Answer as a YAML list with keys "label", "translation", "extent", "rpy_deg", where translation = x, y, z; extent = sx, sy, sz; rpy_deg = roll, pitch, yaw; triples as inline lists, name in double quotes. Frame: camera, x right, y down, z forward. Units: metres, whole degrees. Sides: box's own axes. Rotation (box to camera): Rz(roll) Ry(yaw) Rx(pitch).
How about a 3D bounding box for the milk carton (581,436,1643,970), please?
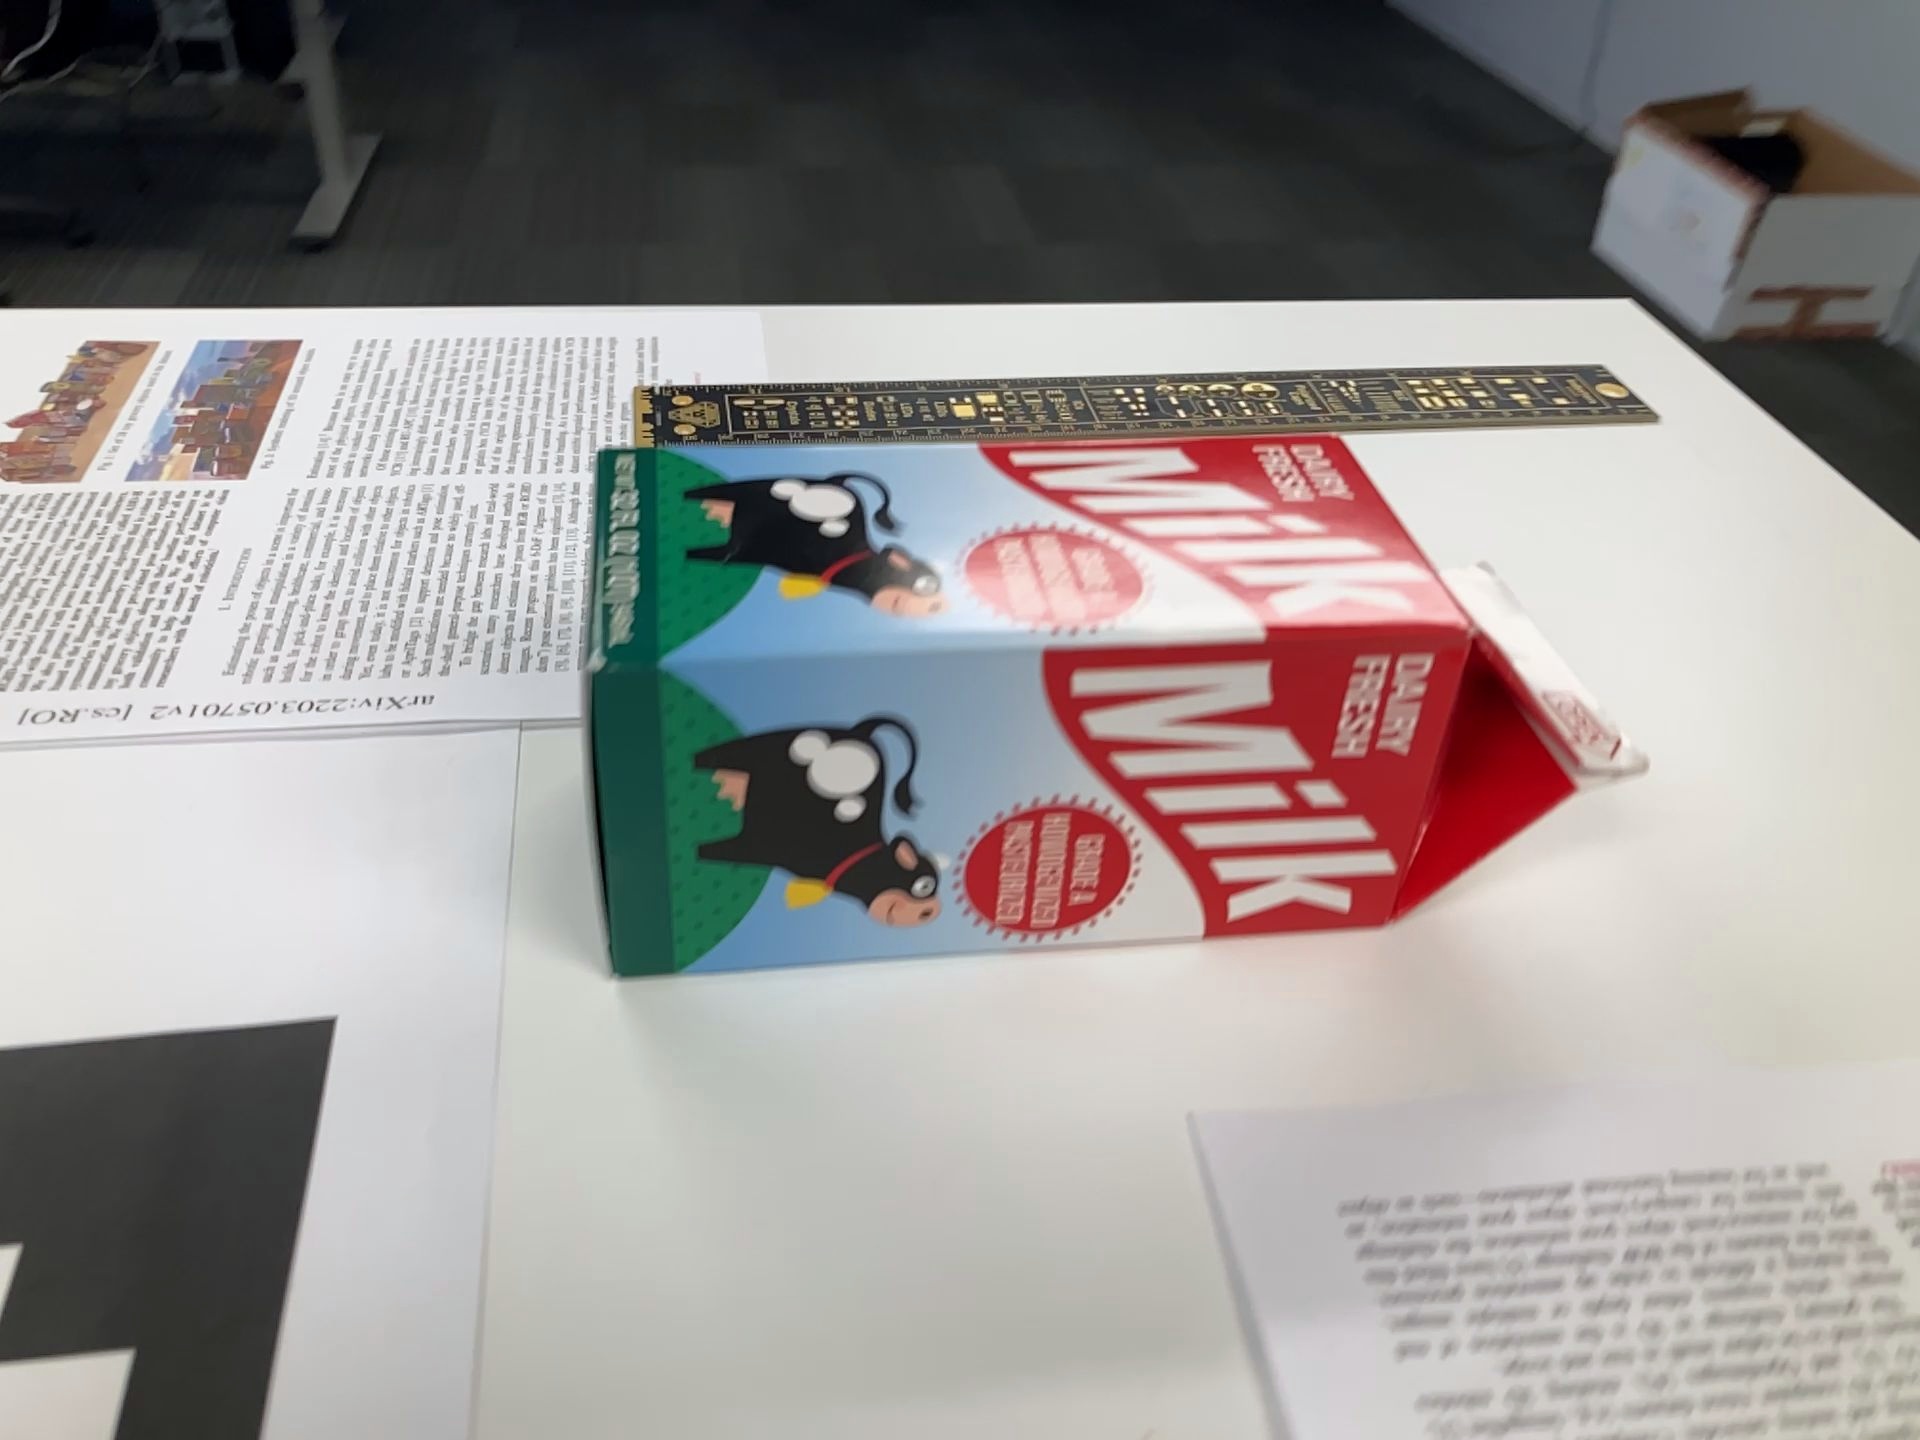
- label: "milk carton"
  translation: [0.027, -0.007, 0.306]
  extent: [0.190, 0.073, 0.072]
  rpy_deg: [-3, 37, -10]
